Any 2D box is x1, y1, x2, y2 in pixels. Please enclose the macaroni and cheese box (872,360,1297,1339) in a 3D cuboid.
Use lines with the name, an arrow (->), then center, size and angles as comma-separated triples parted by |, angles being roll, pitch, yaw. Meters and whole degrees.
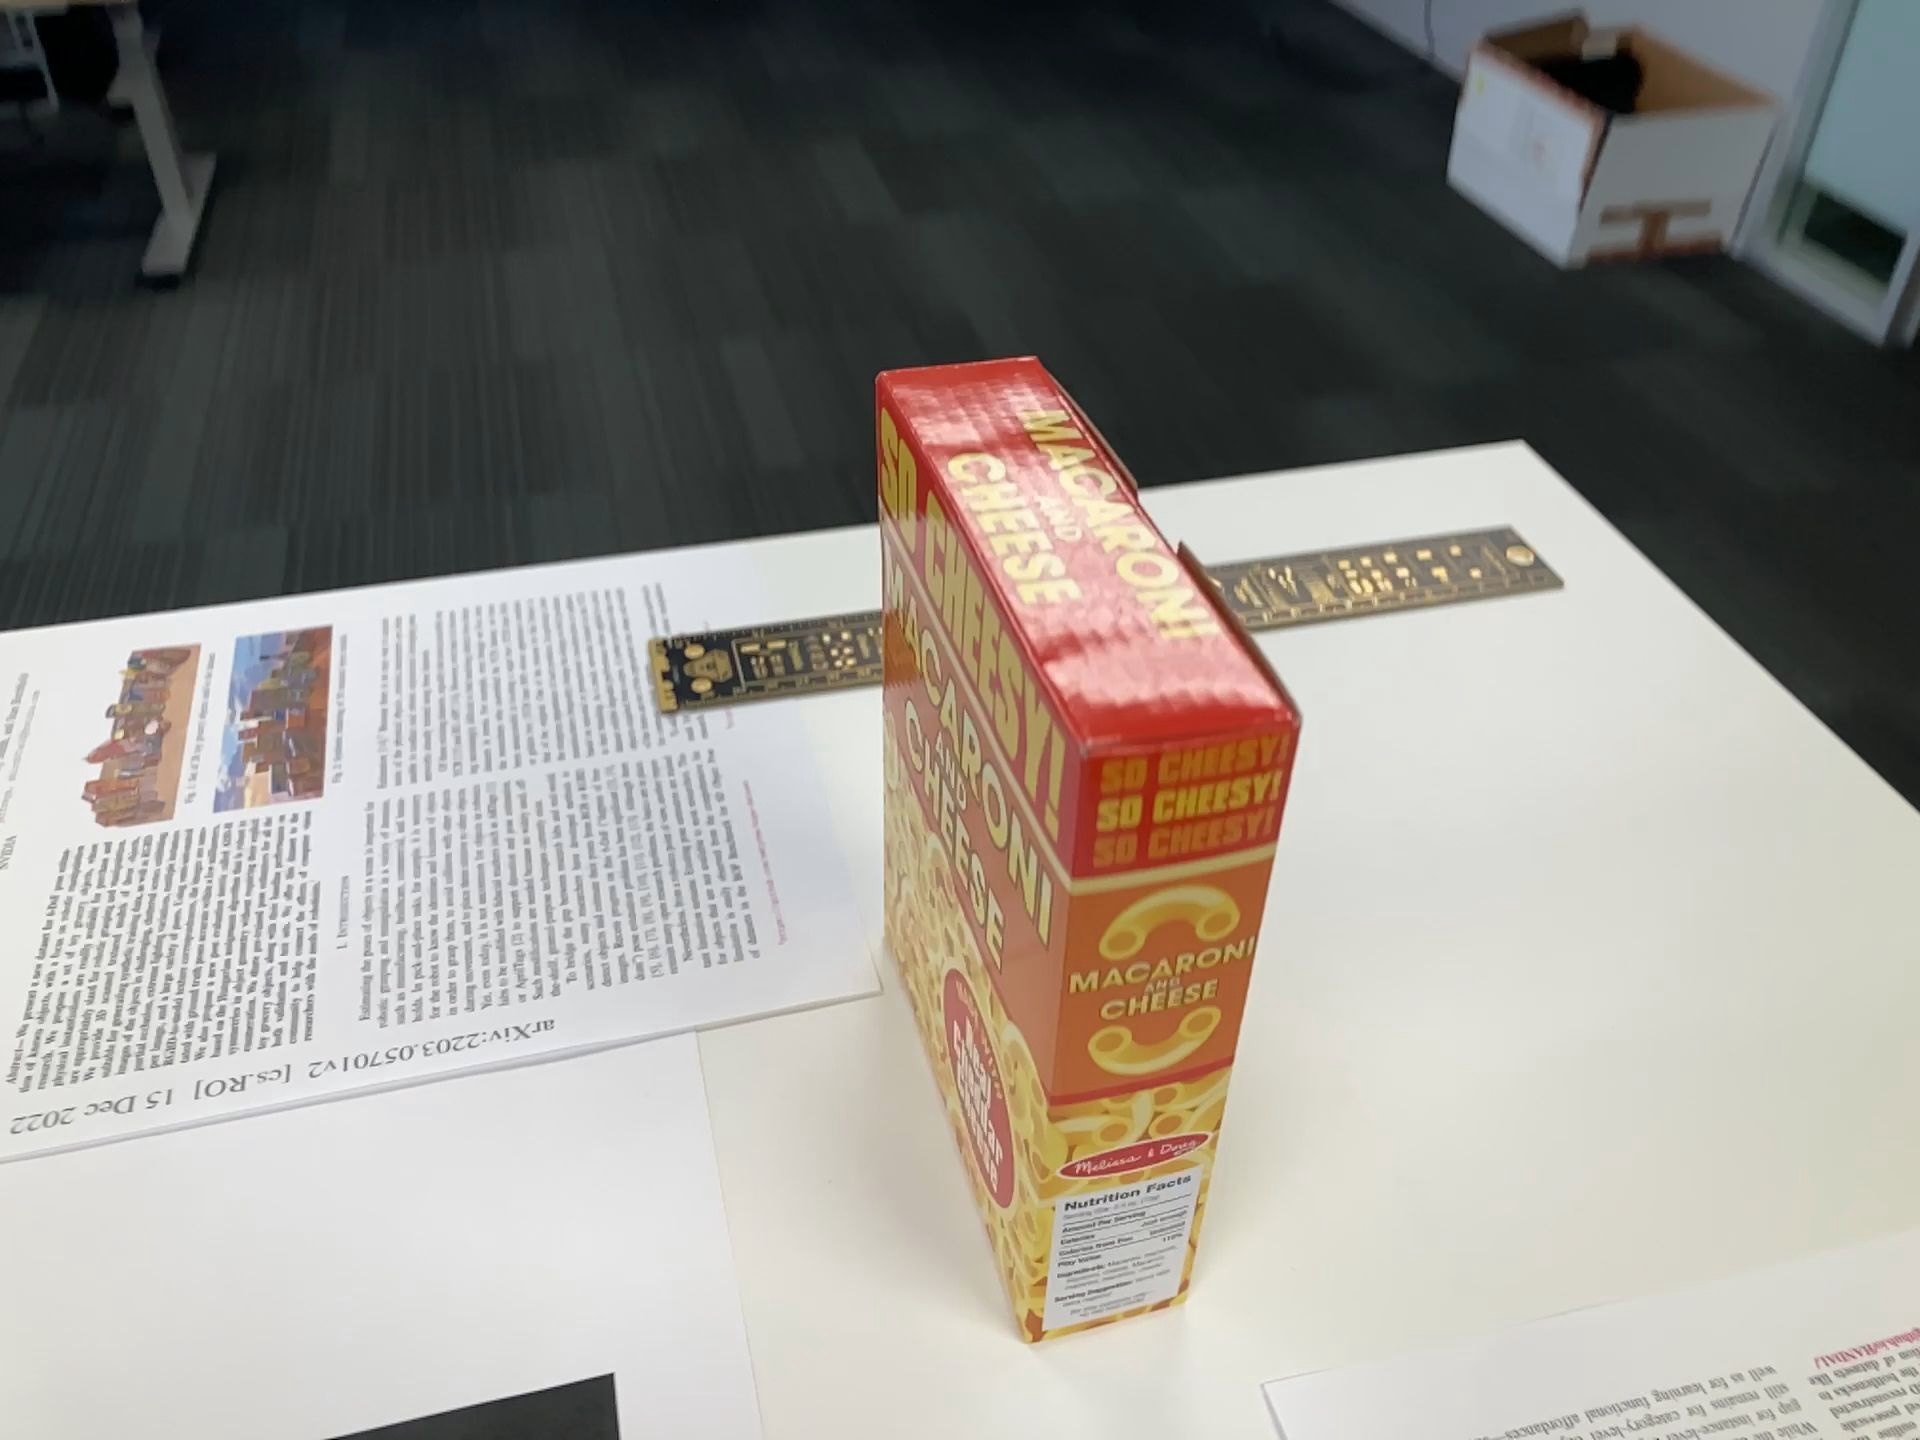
macaroni and cheese box -> 0.016, 0.028, 0.335 | 0.040, 0.166, 0.124 | -10, 41, -14
